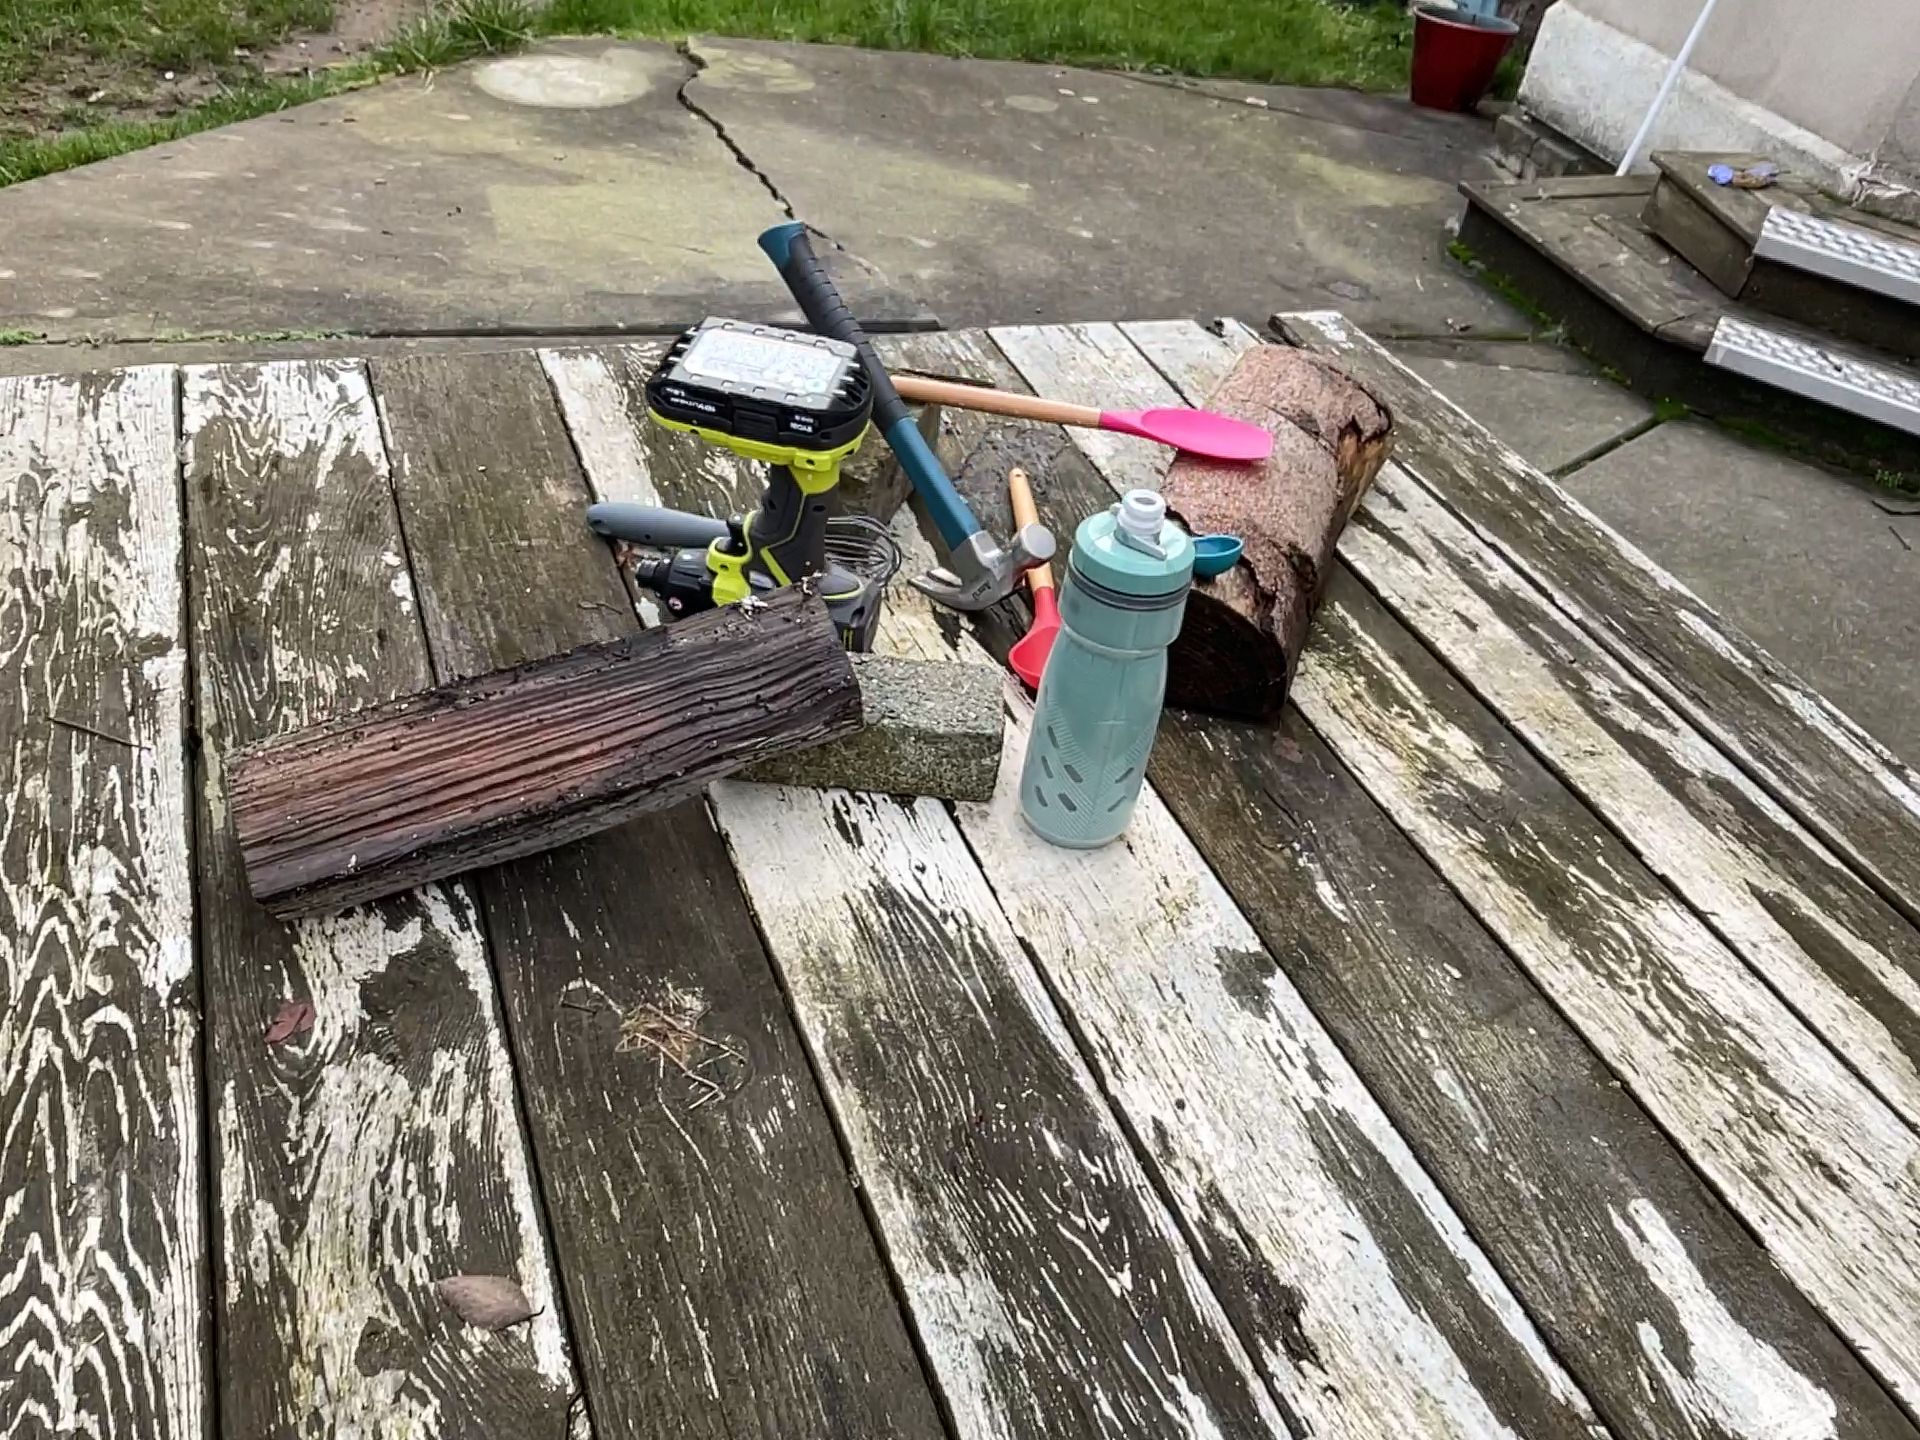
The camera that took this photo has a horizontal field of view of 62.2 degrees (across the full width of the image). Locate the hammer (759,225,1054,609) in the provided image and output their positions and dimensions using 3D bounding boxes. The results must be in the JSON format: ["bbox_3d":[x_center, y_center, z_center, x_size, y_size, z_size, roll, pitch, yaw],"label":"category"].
[{"bbox_3d":[-0.053,-0.228,1.180,0.033,0.128,0.331,-25,81,-39],"label":"hammer"}]

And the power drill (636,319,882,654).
[{"bbox_3d":[-0.137,-0.143,1.056,0.171,0.223,0.080,12,45,6],"label":"power drill"}]

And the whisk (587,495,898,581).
[{"bbox_3d":[-0.162,-0.141,1.182,0.239,0.055,0.055,10,29,6],"label":"whisk"}]

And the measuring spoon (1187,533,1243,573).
[{"bbox_3d":[0.145,-0.121,1.117,0.042,0.021,0.129,-23,26,-34],"label":"measuring spoon"}]

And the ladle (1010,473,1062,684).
[{"bbox_3d":[0.060,-0.111,1.214,0.069,0.031,0.316,1,36,-6],"label":"ladle"}]

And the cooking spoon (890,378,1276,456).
[{"bbox_3d":[0.088,-0.240,1.254,0.319,0.017,0.069,11,38,9],"label":"cooking spoon"}]
